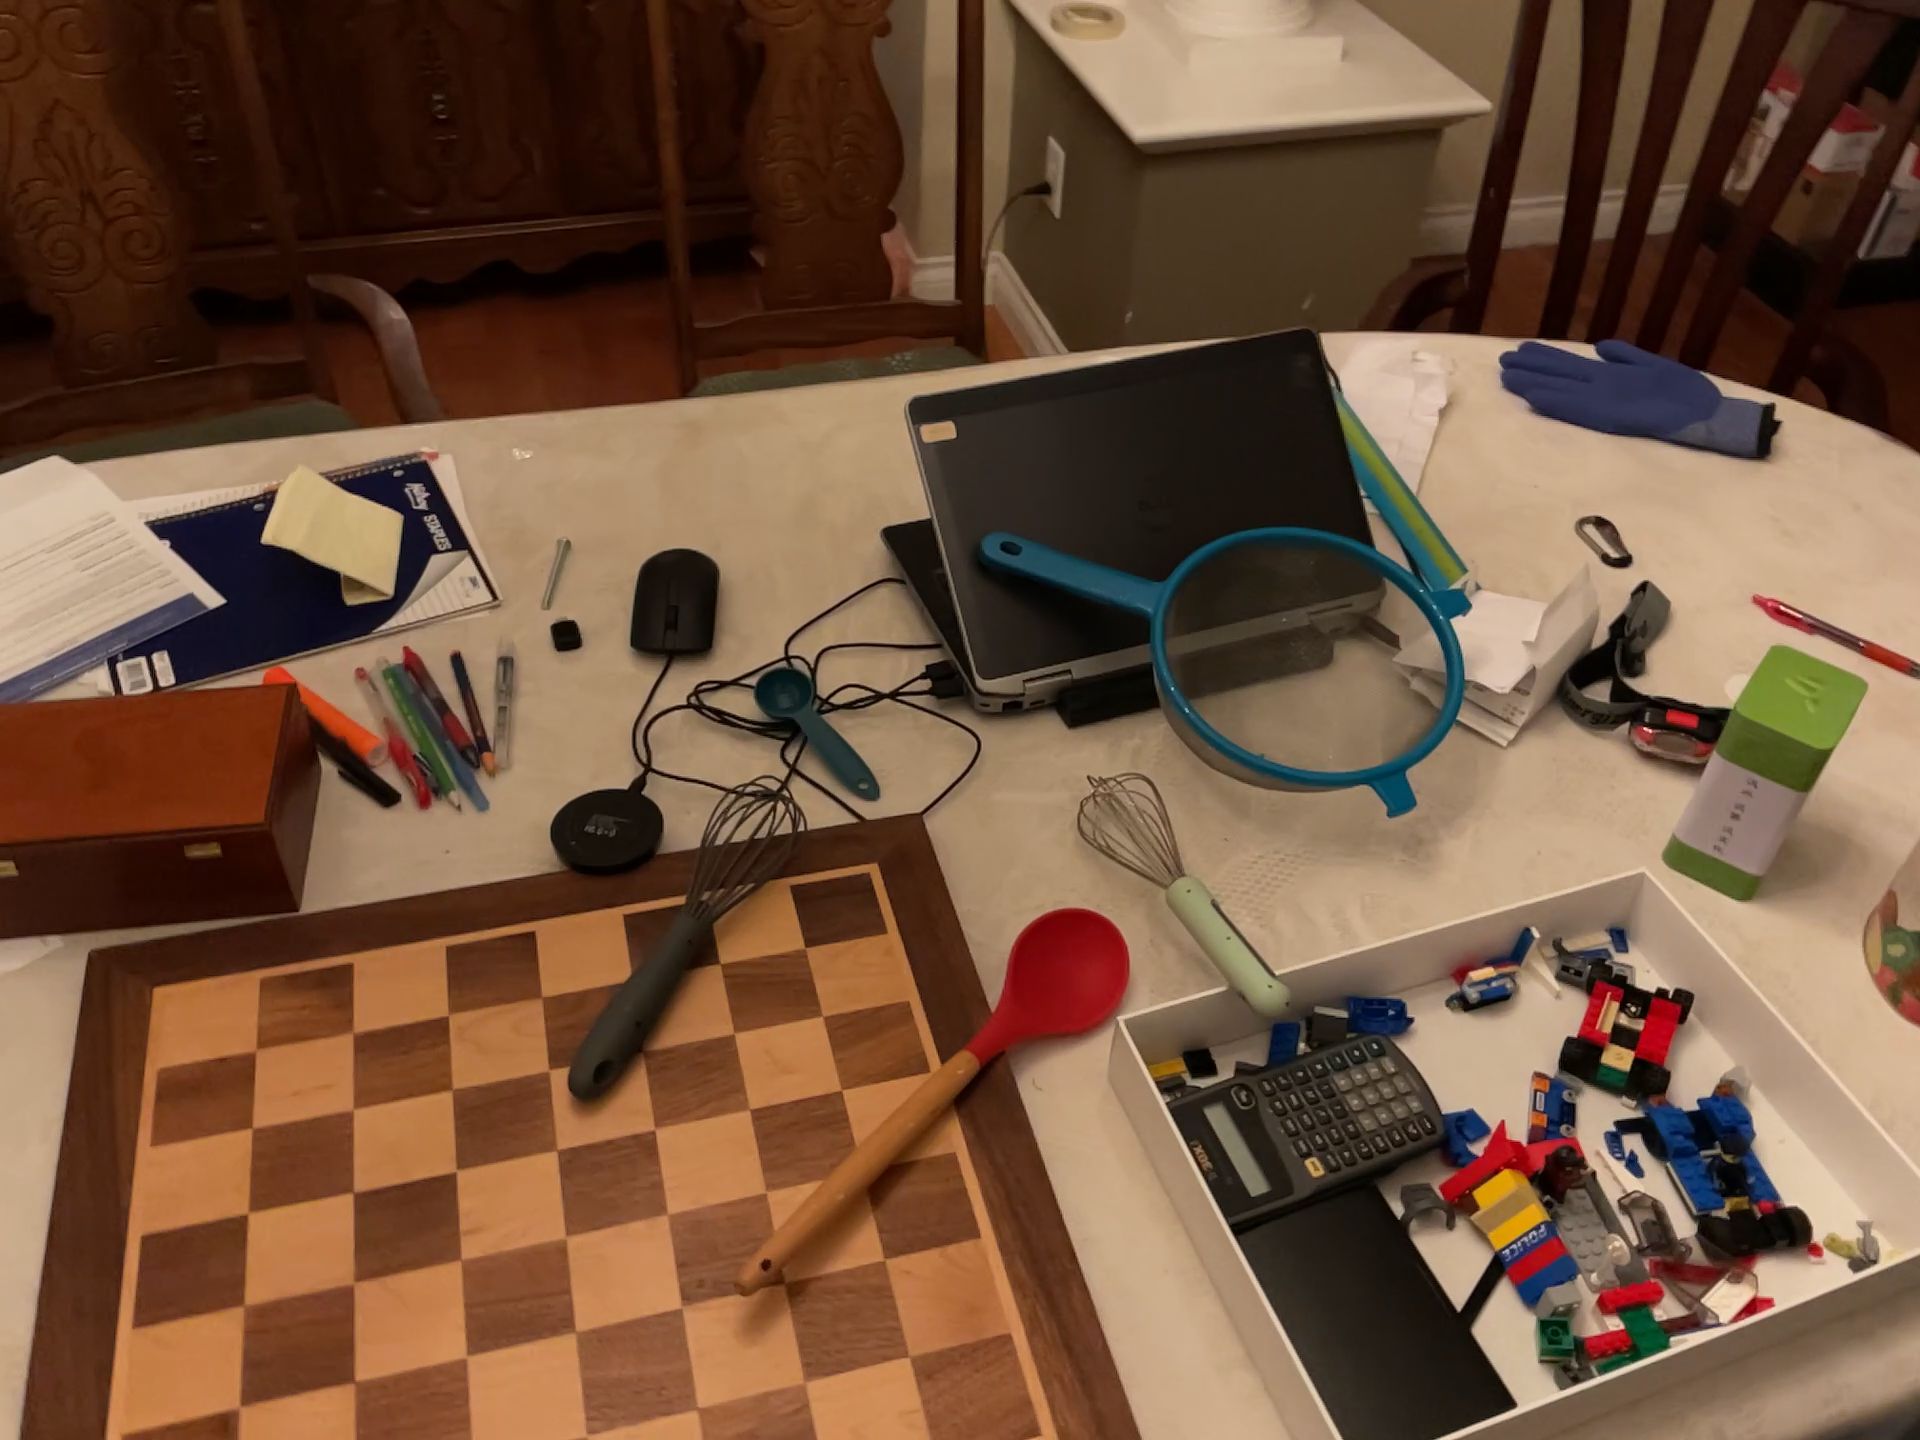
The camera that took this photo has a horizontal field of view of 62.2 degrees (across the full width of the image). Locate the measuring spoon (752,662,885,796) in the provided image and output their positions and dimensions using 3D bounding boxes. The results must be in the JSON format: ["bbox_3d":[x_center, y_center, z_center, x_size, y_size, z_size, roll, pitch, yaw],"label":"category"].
[{"bbox_3d":[-0.095,0.011,1.091,0.042,0.021,0.129,-34,66,-24],"label":"measuring spoon"}]

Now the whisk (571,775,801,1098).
[{"bbox_3d":[-0.158,0.121,0.928,0.055,0.055,0.239,8,46,25],"label":"whisk"}]

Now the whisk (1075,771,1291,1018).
[{"bbox_3d":[0.131,0.098,0.958,0.059,0.057,0.247,-37,35,1],"label":"whisk"}]

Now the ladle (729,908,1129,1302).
[{"bbox_3d":[-0.010,0.202,0.858,0.069,0.031,0.315,45,49,9],"label":"ladle"}]

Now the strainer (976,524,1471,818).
[{"bbox_3d":[0.168,-0.047,1.104,0.340,0.095,0.211,20,58,10],"label":"strainer"}]
